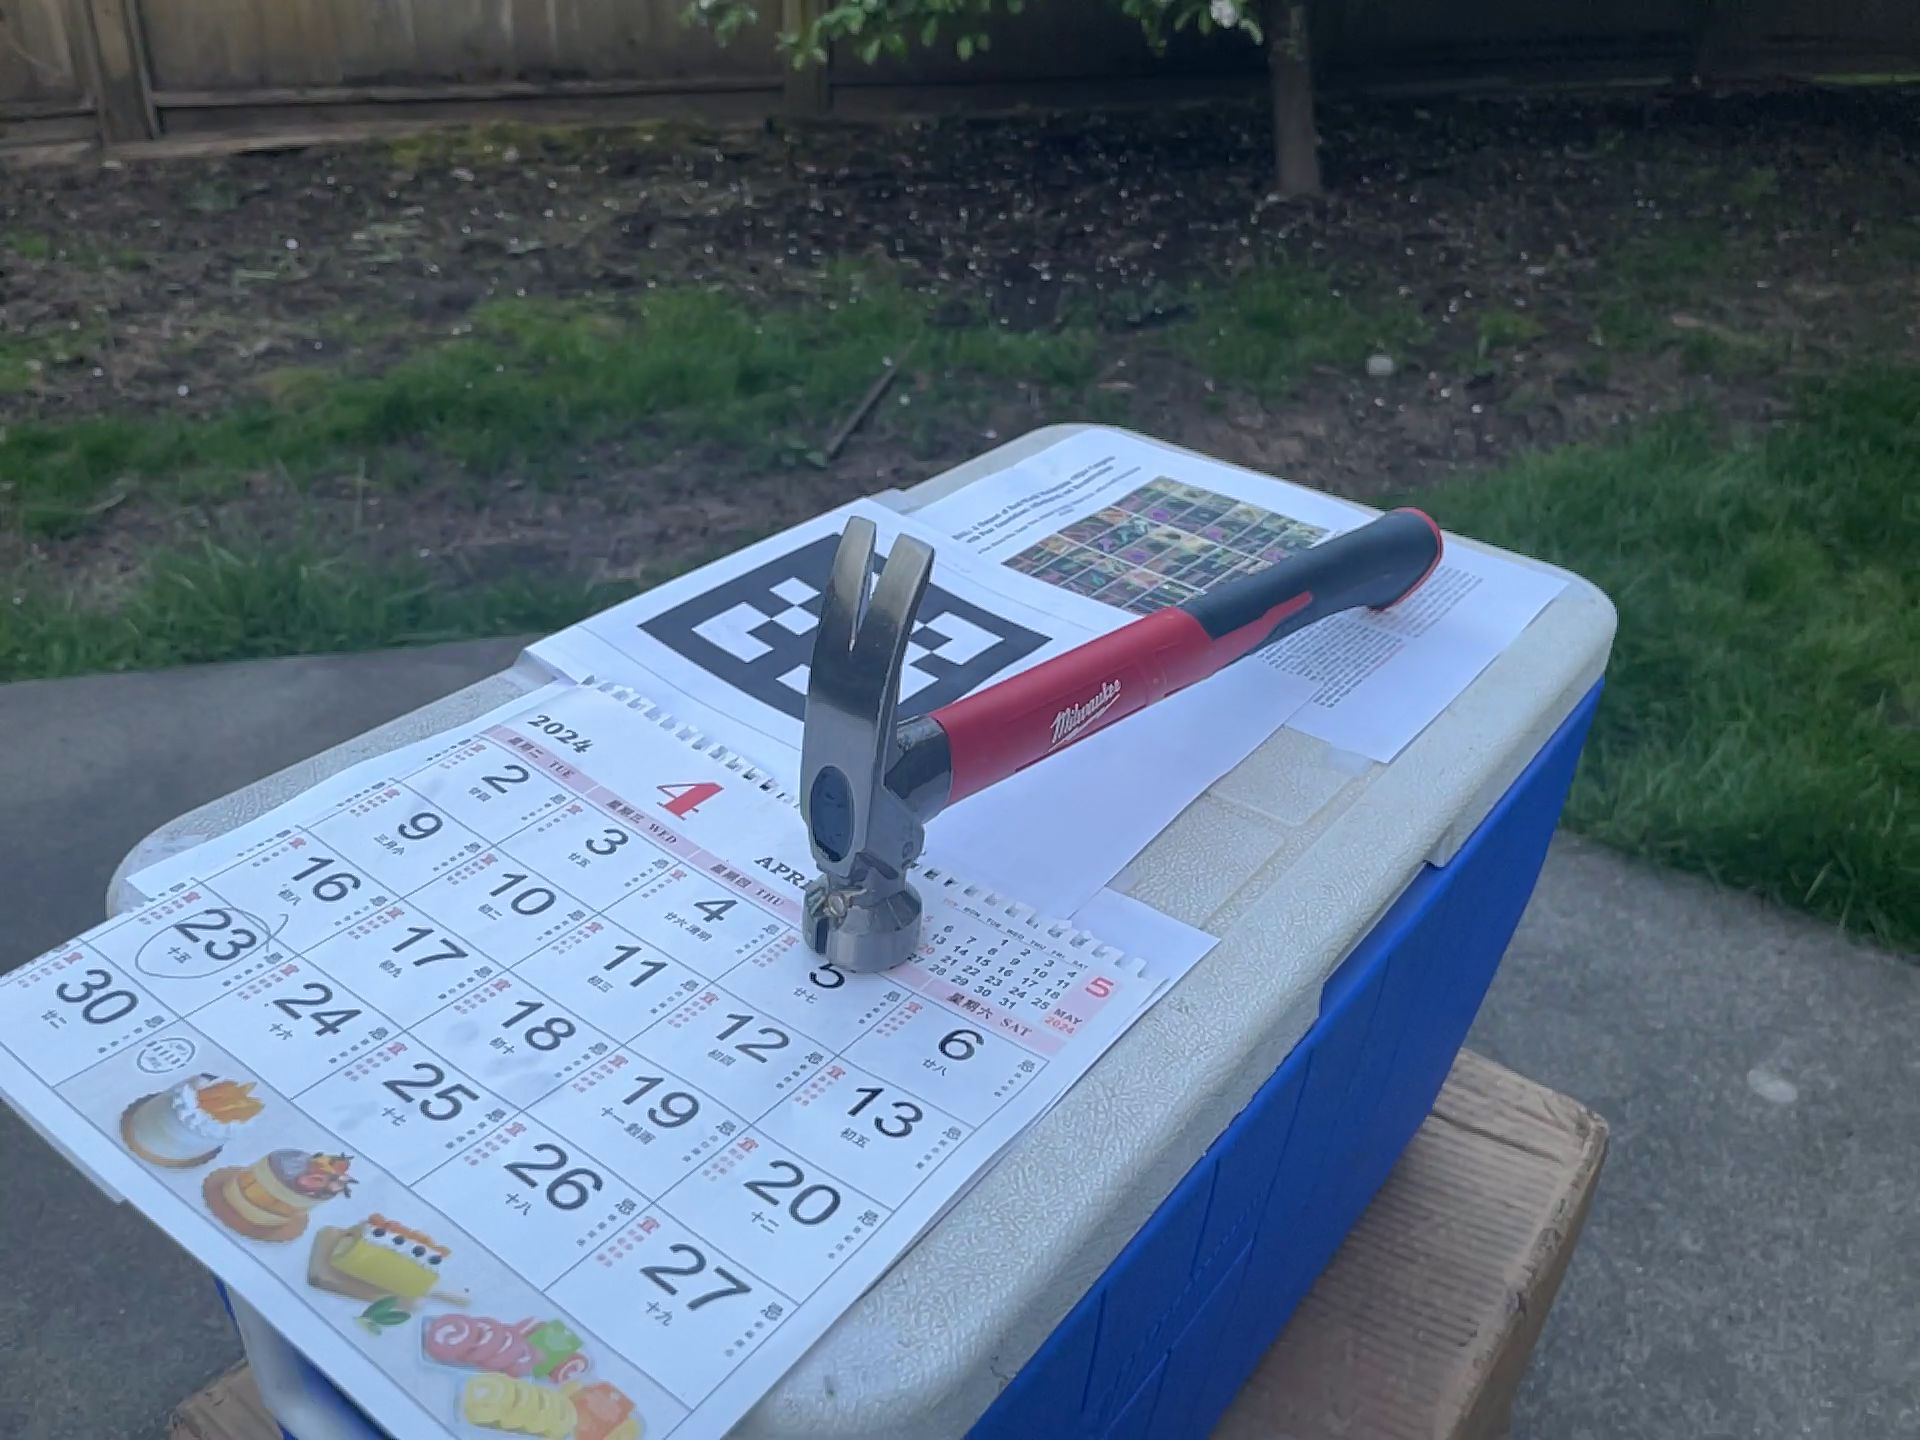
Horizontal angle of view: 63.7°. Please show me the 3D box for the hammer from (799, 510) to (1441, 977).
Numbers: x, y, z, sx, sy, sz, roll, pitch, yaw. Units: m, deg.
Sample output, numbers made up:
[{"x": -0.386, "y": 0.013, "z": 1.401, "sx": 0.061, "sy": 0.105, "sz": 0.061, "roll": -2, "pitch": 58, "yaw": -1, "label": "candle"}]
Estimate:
[{"x": 0.088, "y": -0.042, "z": 0.586, "sx": 0.038, "sy": 0.143, "sz": 0.386, "roll": 27, "pitch": 34, "yaw": 32, "label": "hammer"}]
